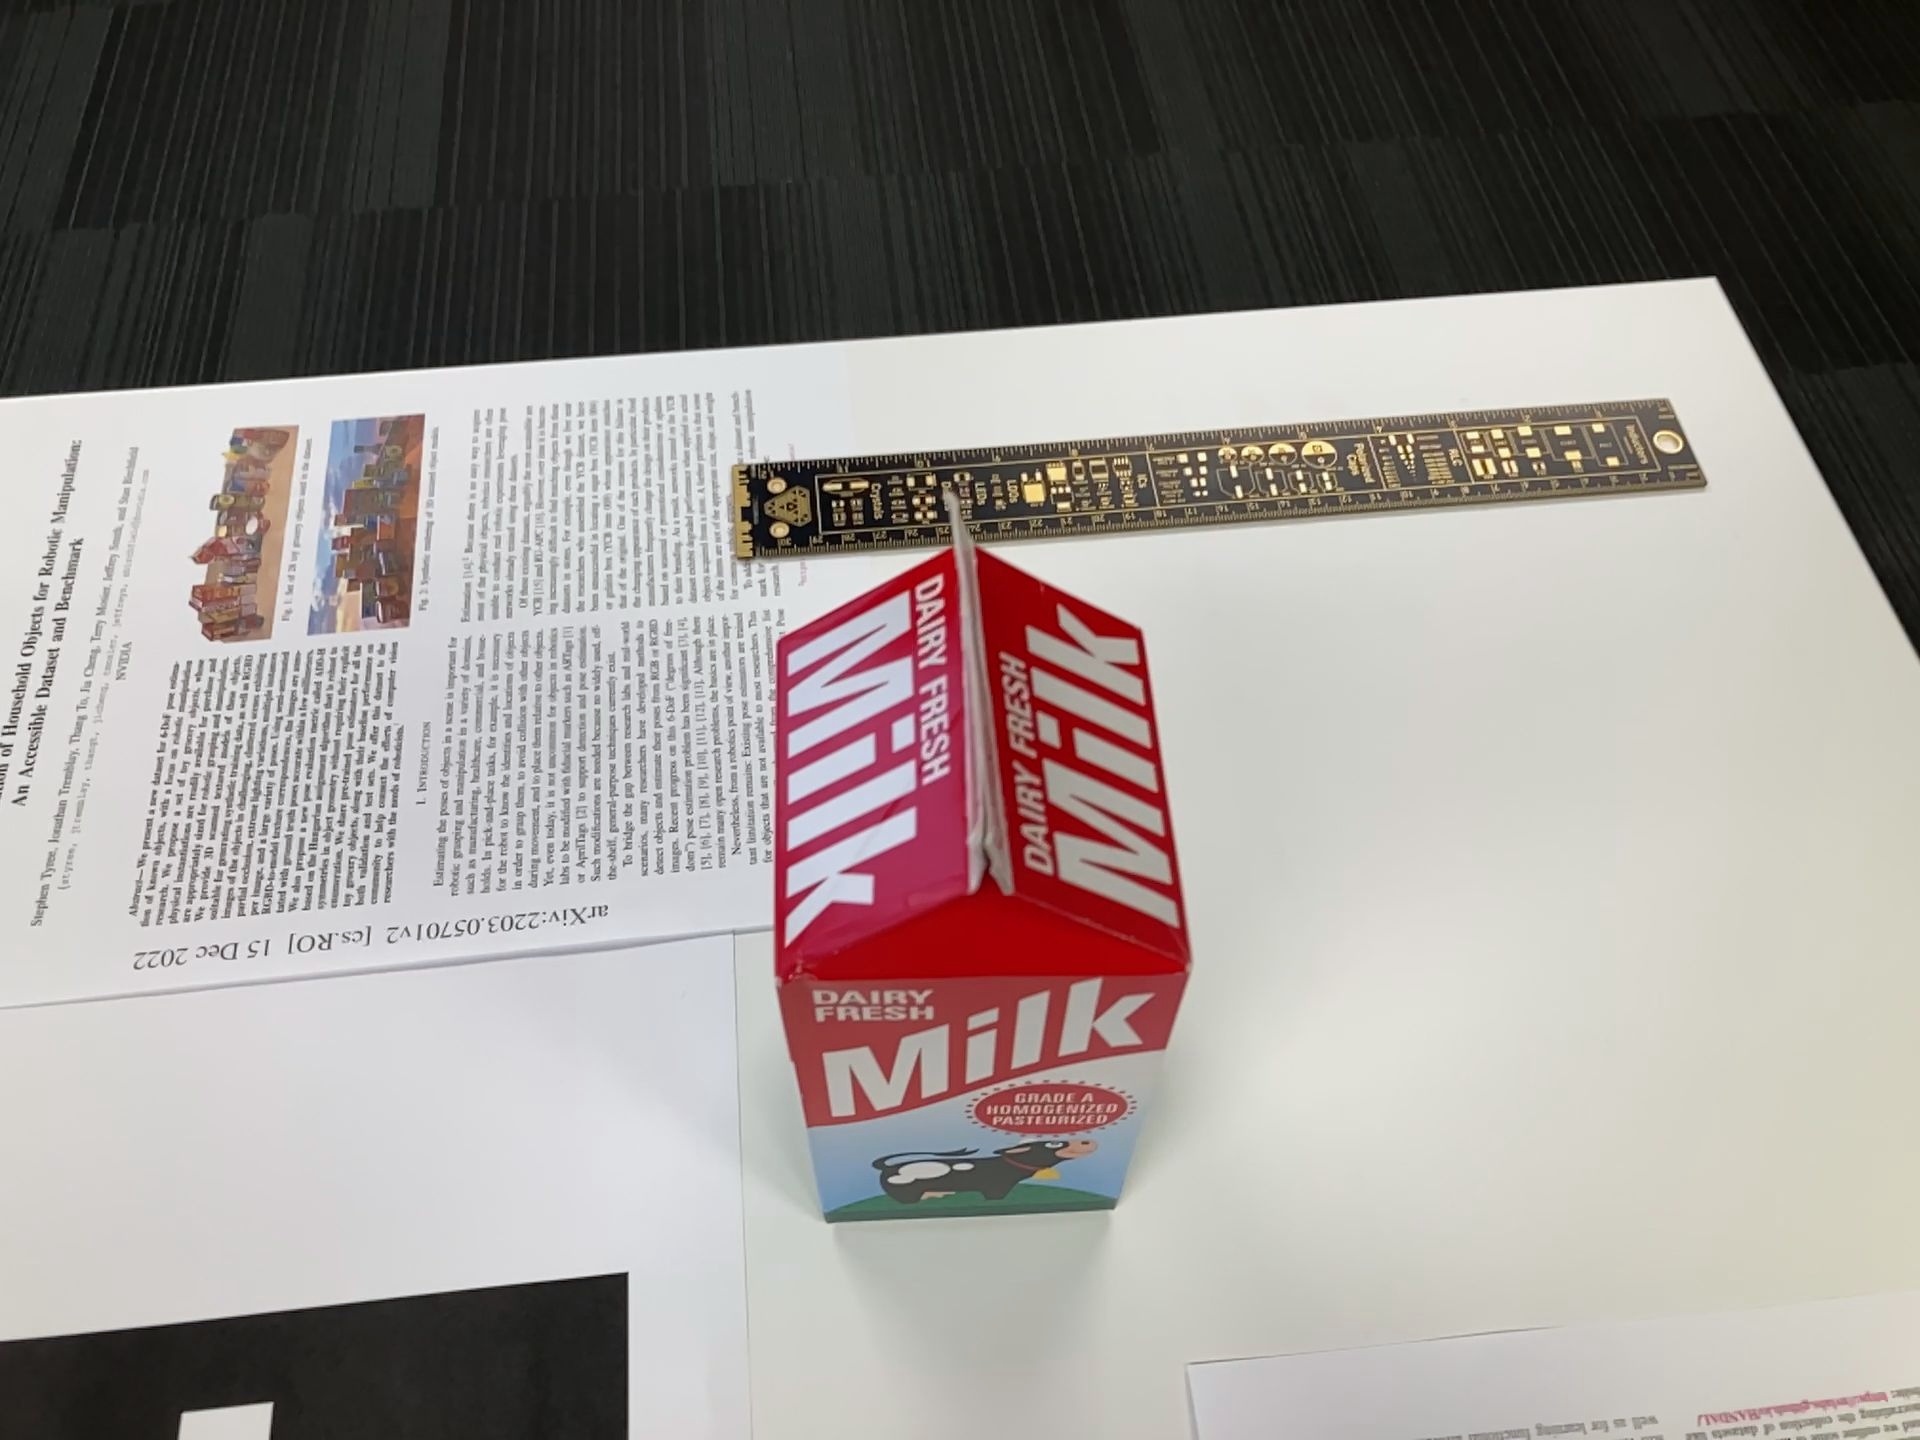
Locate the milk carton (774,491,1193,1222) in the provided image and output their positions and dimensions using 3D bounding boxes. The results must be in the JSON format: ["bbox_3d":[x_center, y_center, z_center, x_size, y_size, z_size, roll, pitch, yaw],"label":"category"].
[{"bbox_3d":[0.002,0.041,0.325,0.073,0.190,0.072,-2,57,-2],"label":"milk carton"}]
